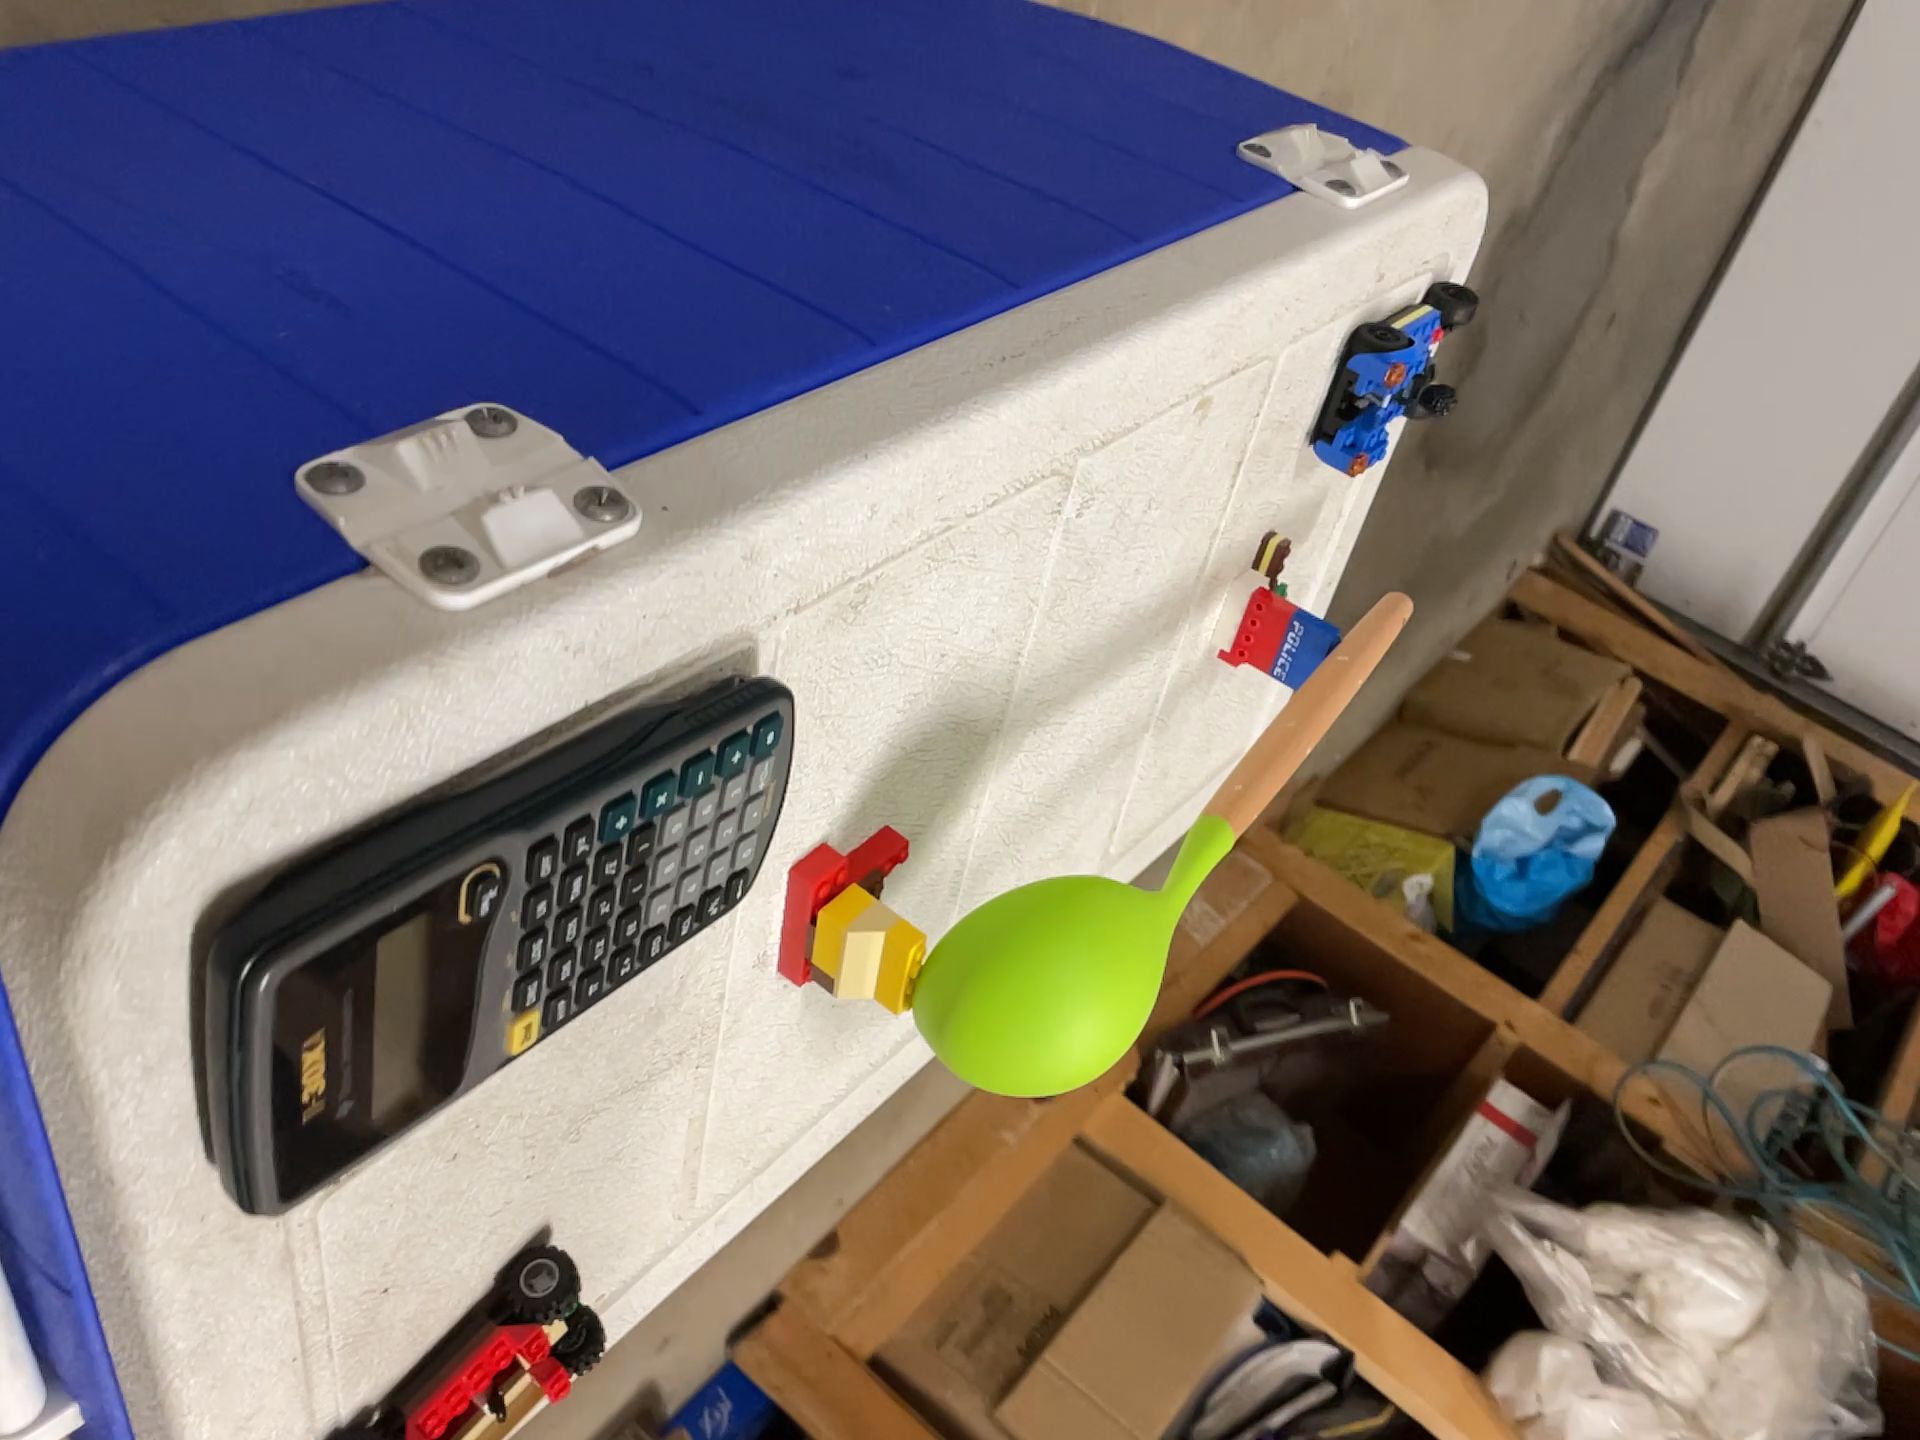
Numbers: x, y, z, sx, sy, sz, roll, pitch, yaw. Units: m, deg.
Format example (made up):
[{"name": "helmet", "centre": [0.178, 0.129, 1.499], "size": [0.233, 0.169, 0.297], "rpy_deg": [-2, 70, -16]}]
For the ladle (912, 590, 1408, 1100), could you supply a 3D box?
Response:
[{"name": "ladle", "centre": [0.091, 0.022, 0.572], "size": [0.320, 0.062, 0.078], "rpy_deg": [-42, 148, -45]}]
